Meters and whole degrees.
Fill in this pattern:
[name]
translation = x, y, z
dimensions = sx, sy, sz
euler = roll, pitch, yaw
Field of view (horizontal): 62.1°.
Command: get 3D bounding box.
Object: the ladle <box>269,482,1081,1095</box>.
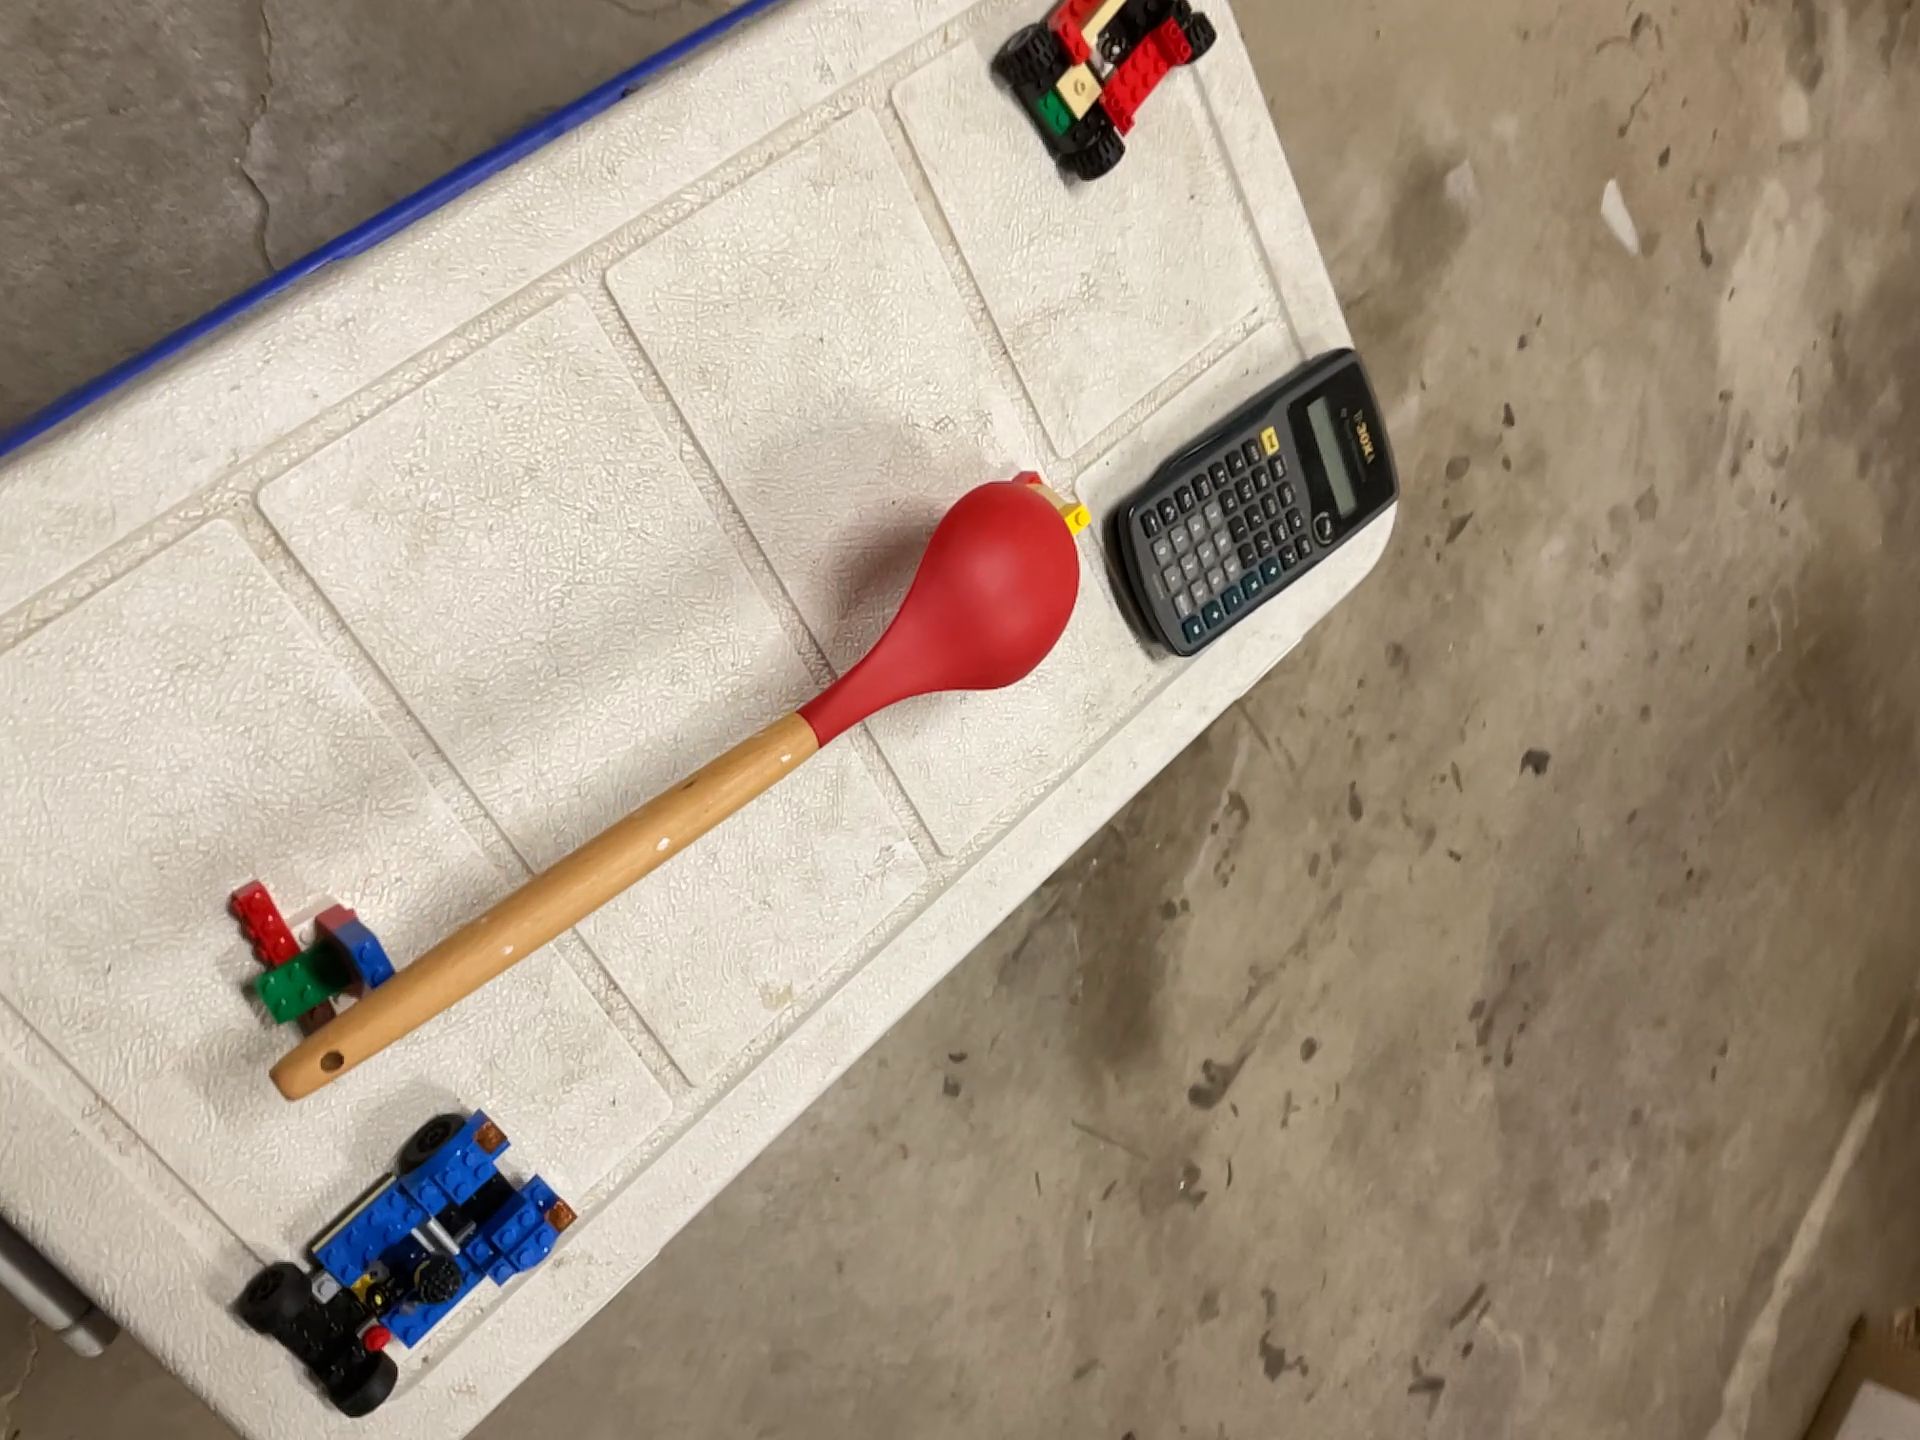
[ladle]
translation = -0.071, 0.016, 0.504
dimensions = 0.315, 0.031, 0.069
euler = -35, 117, -25
